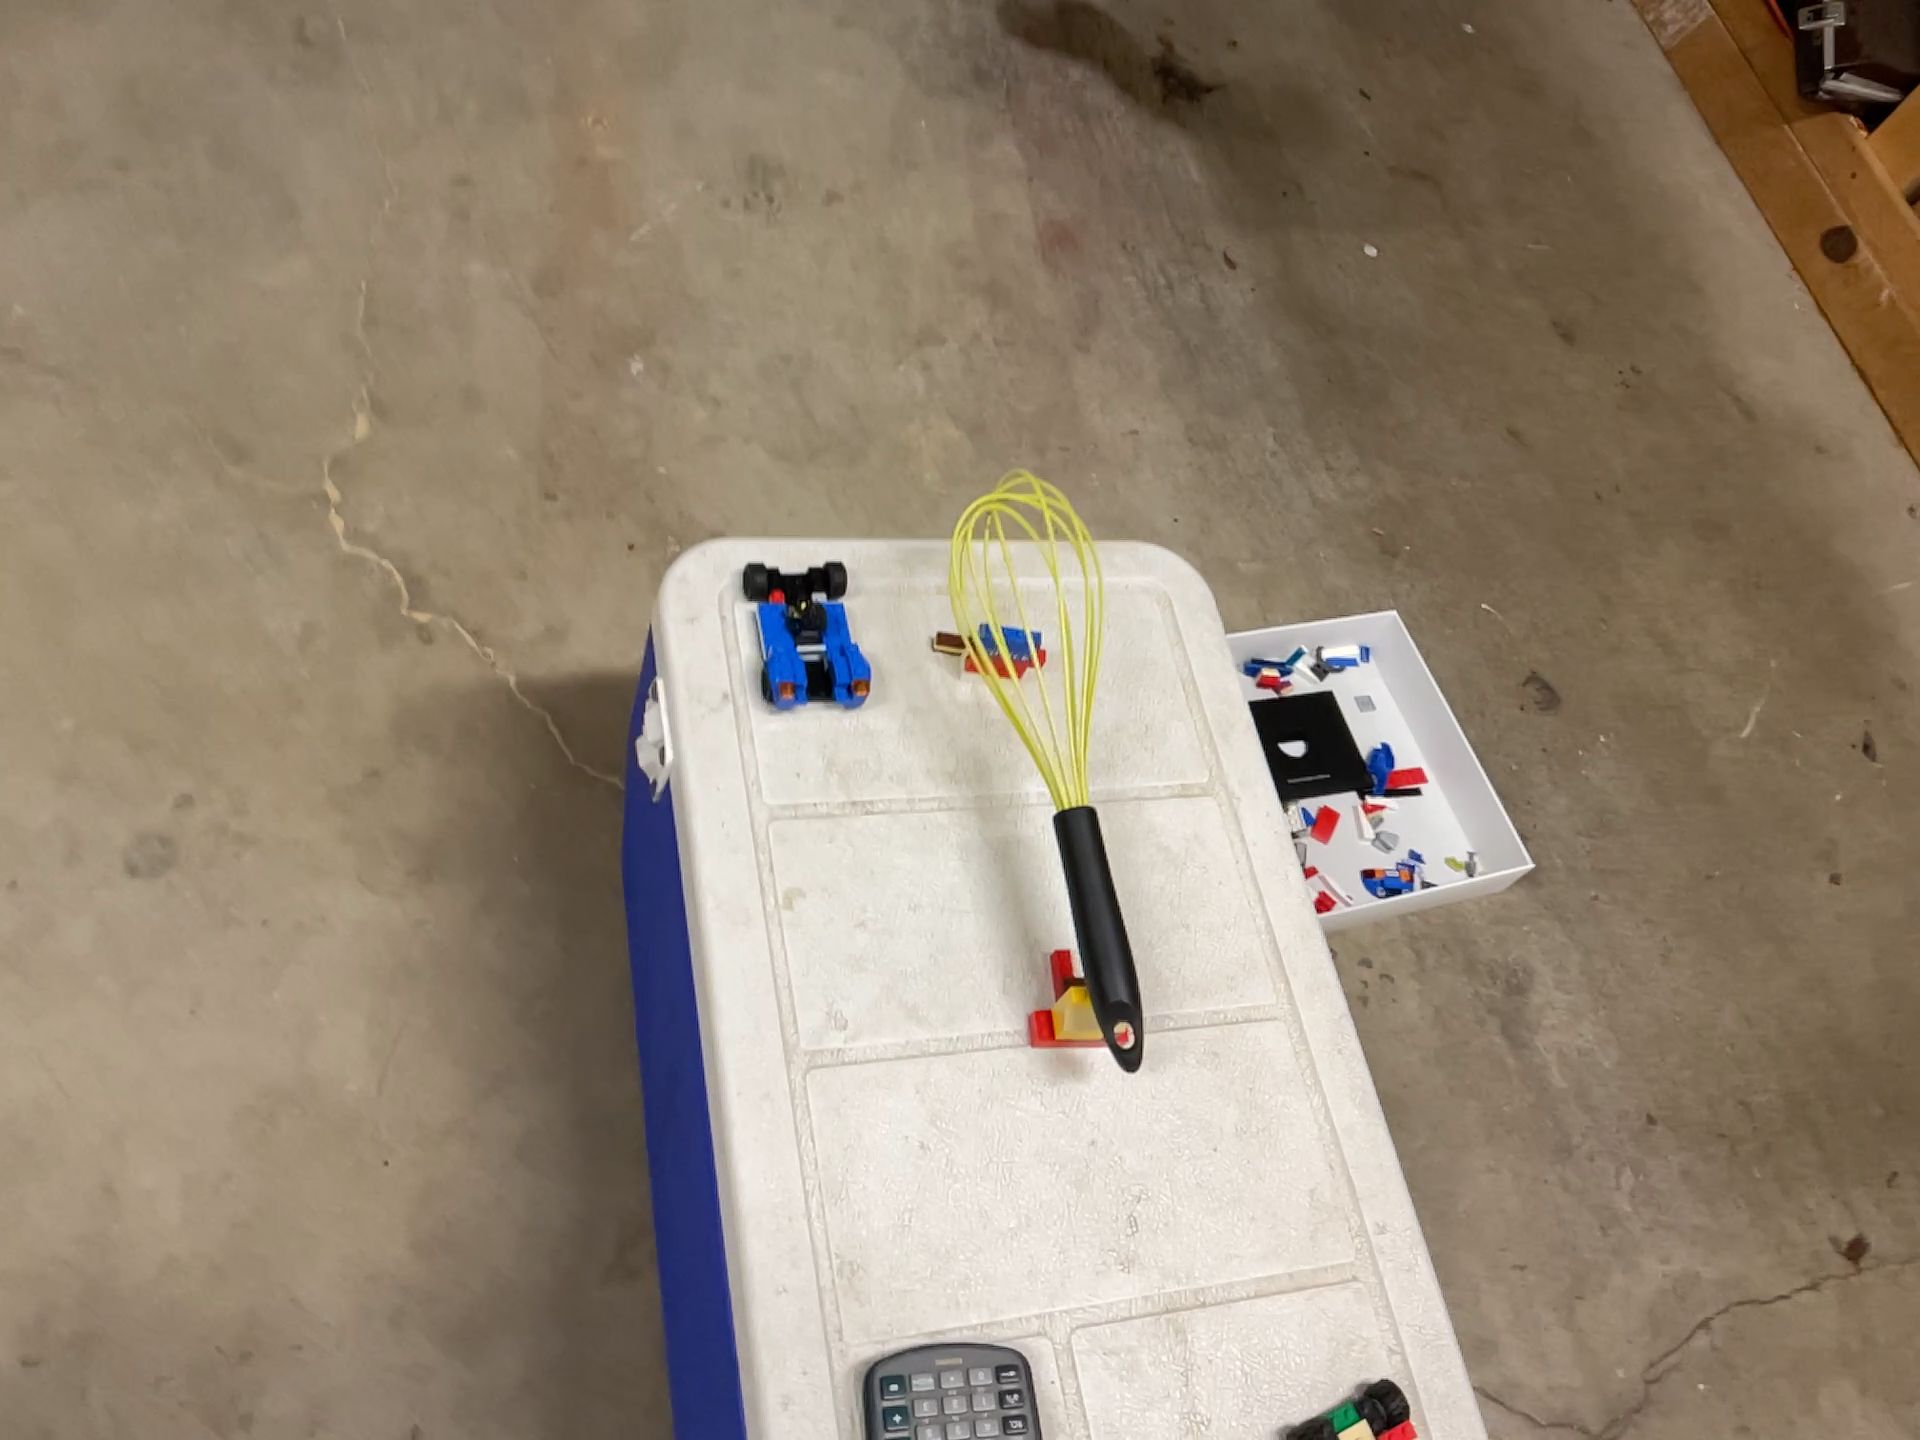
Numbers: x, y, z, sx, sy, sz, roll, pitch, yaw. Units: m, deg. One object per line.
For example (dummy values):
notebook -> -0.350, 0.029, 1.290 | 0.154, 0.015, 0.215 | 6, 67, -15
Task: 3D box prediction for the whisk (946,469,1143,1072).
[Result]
whisk -> 0.051, 0.018, 0.789 | 0.080, 0.067, 0.312 | -20, 69, 22
